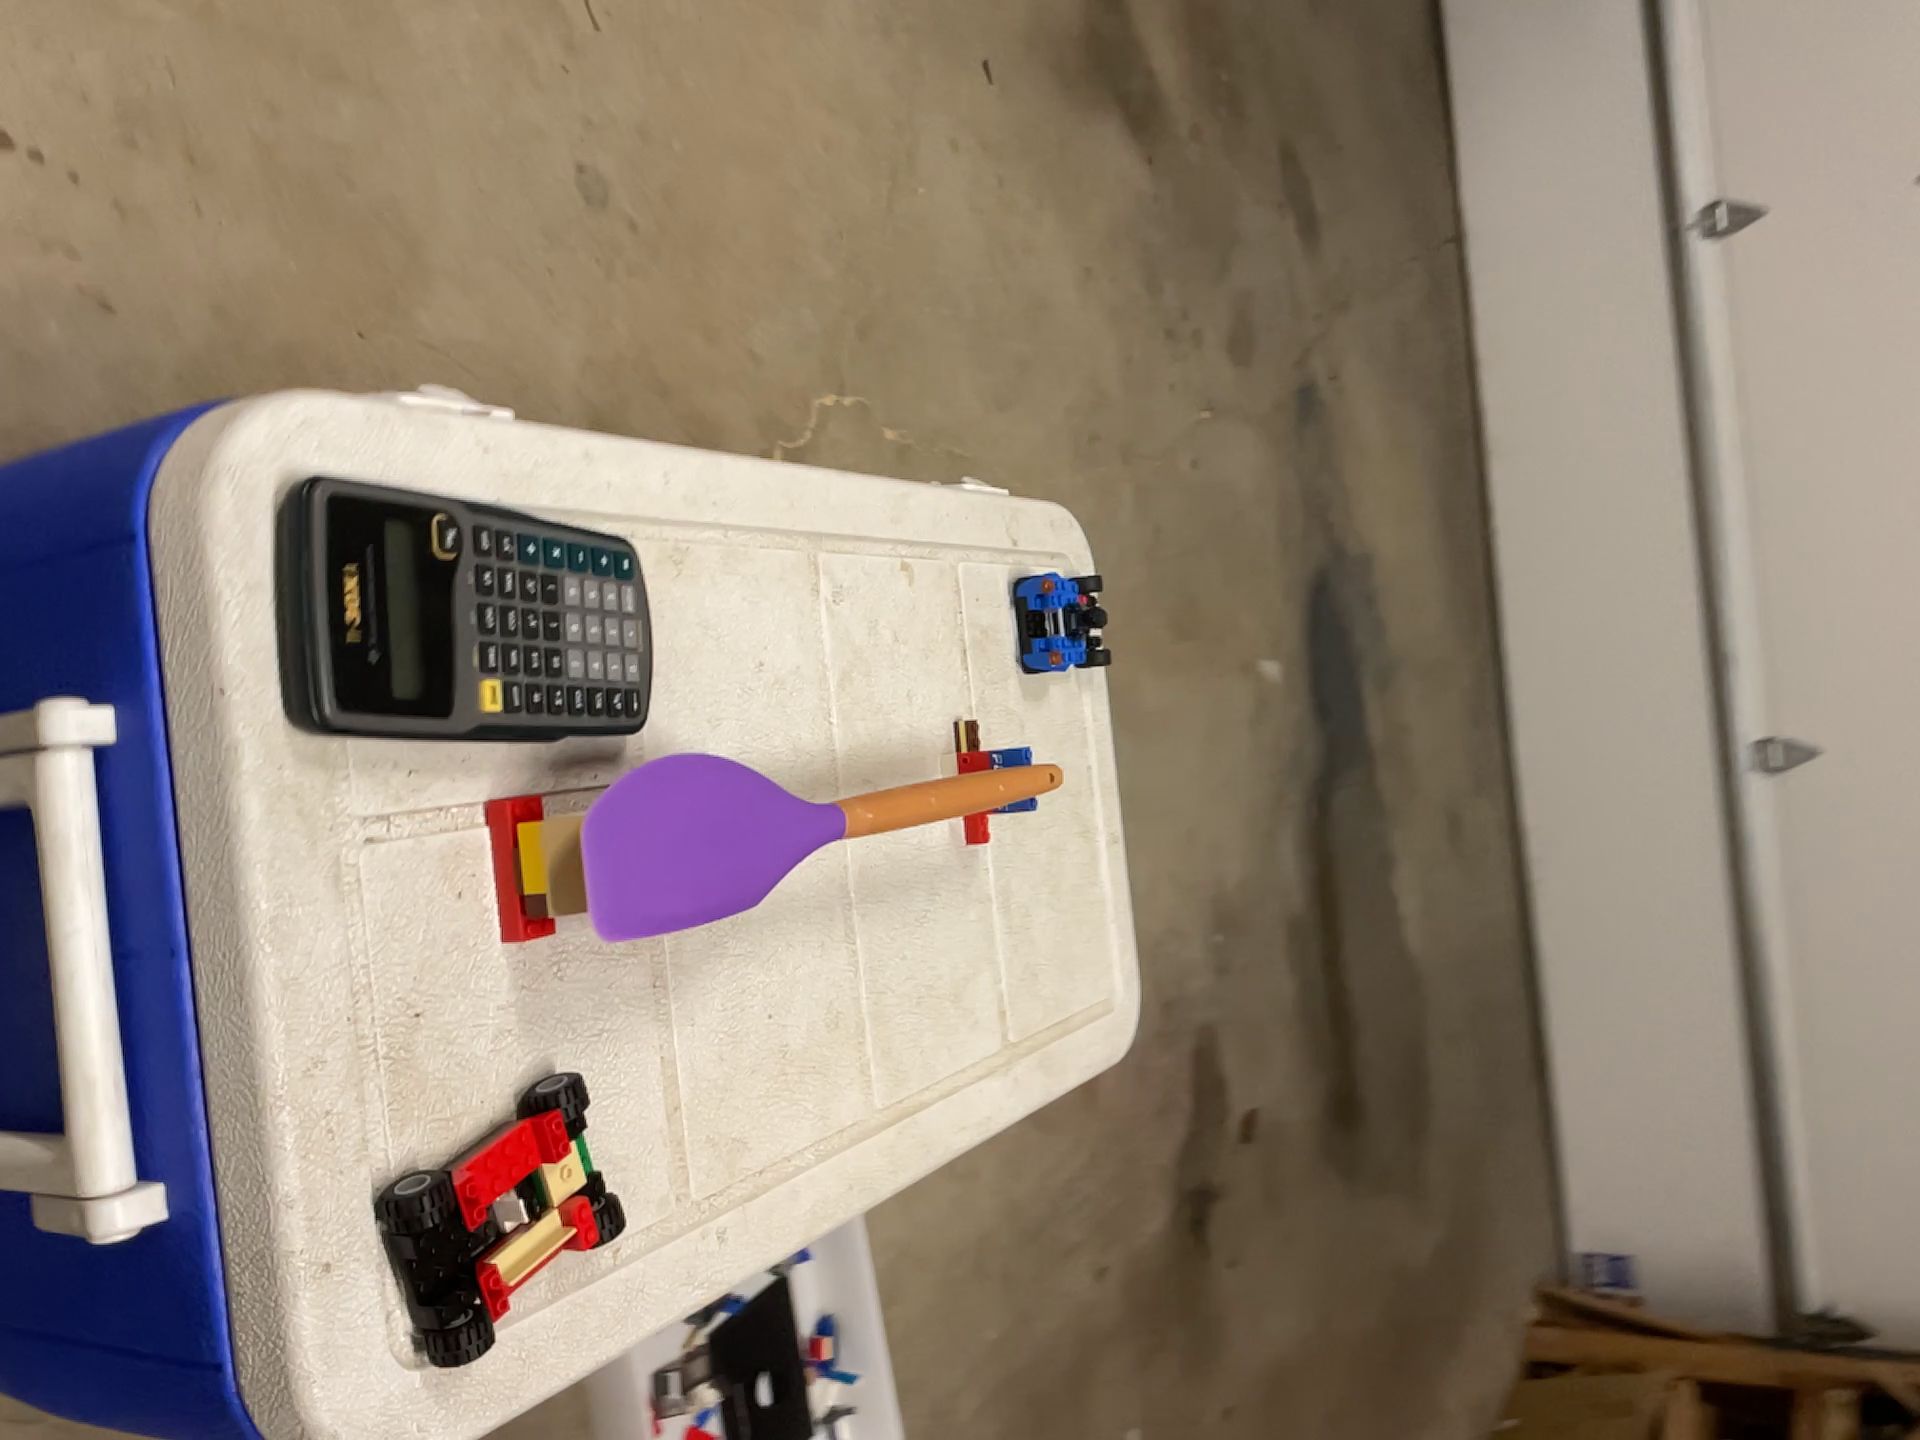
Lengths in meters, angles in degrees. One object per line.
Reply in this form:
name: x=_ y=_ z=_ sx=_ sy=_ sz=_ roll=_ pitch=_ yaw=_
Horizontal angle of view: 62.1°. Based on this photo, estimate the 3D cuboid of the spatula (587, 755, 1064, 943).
spatula: x=-0.036 y=0.036 z=0.646 sx=0.316 sy=0.018 sz=0.060 roll=-6 pitch=91 yaw=-59
